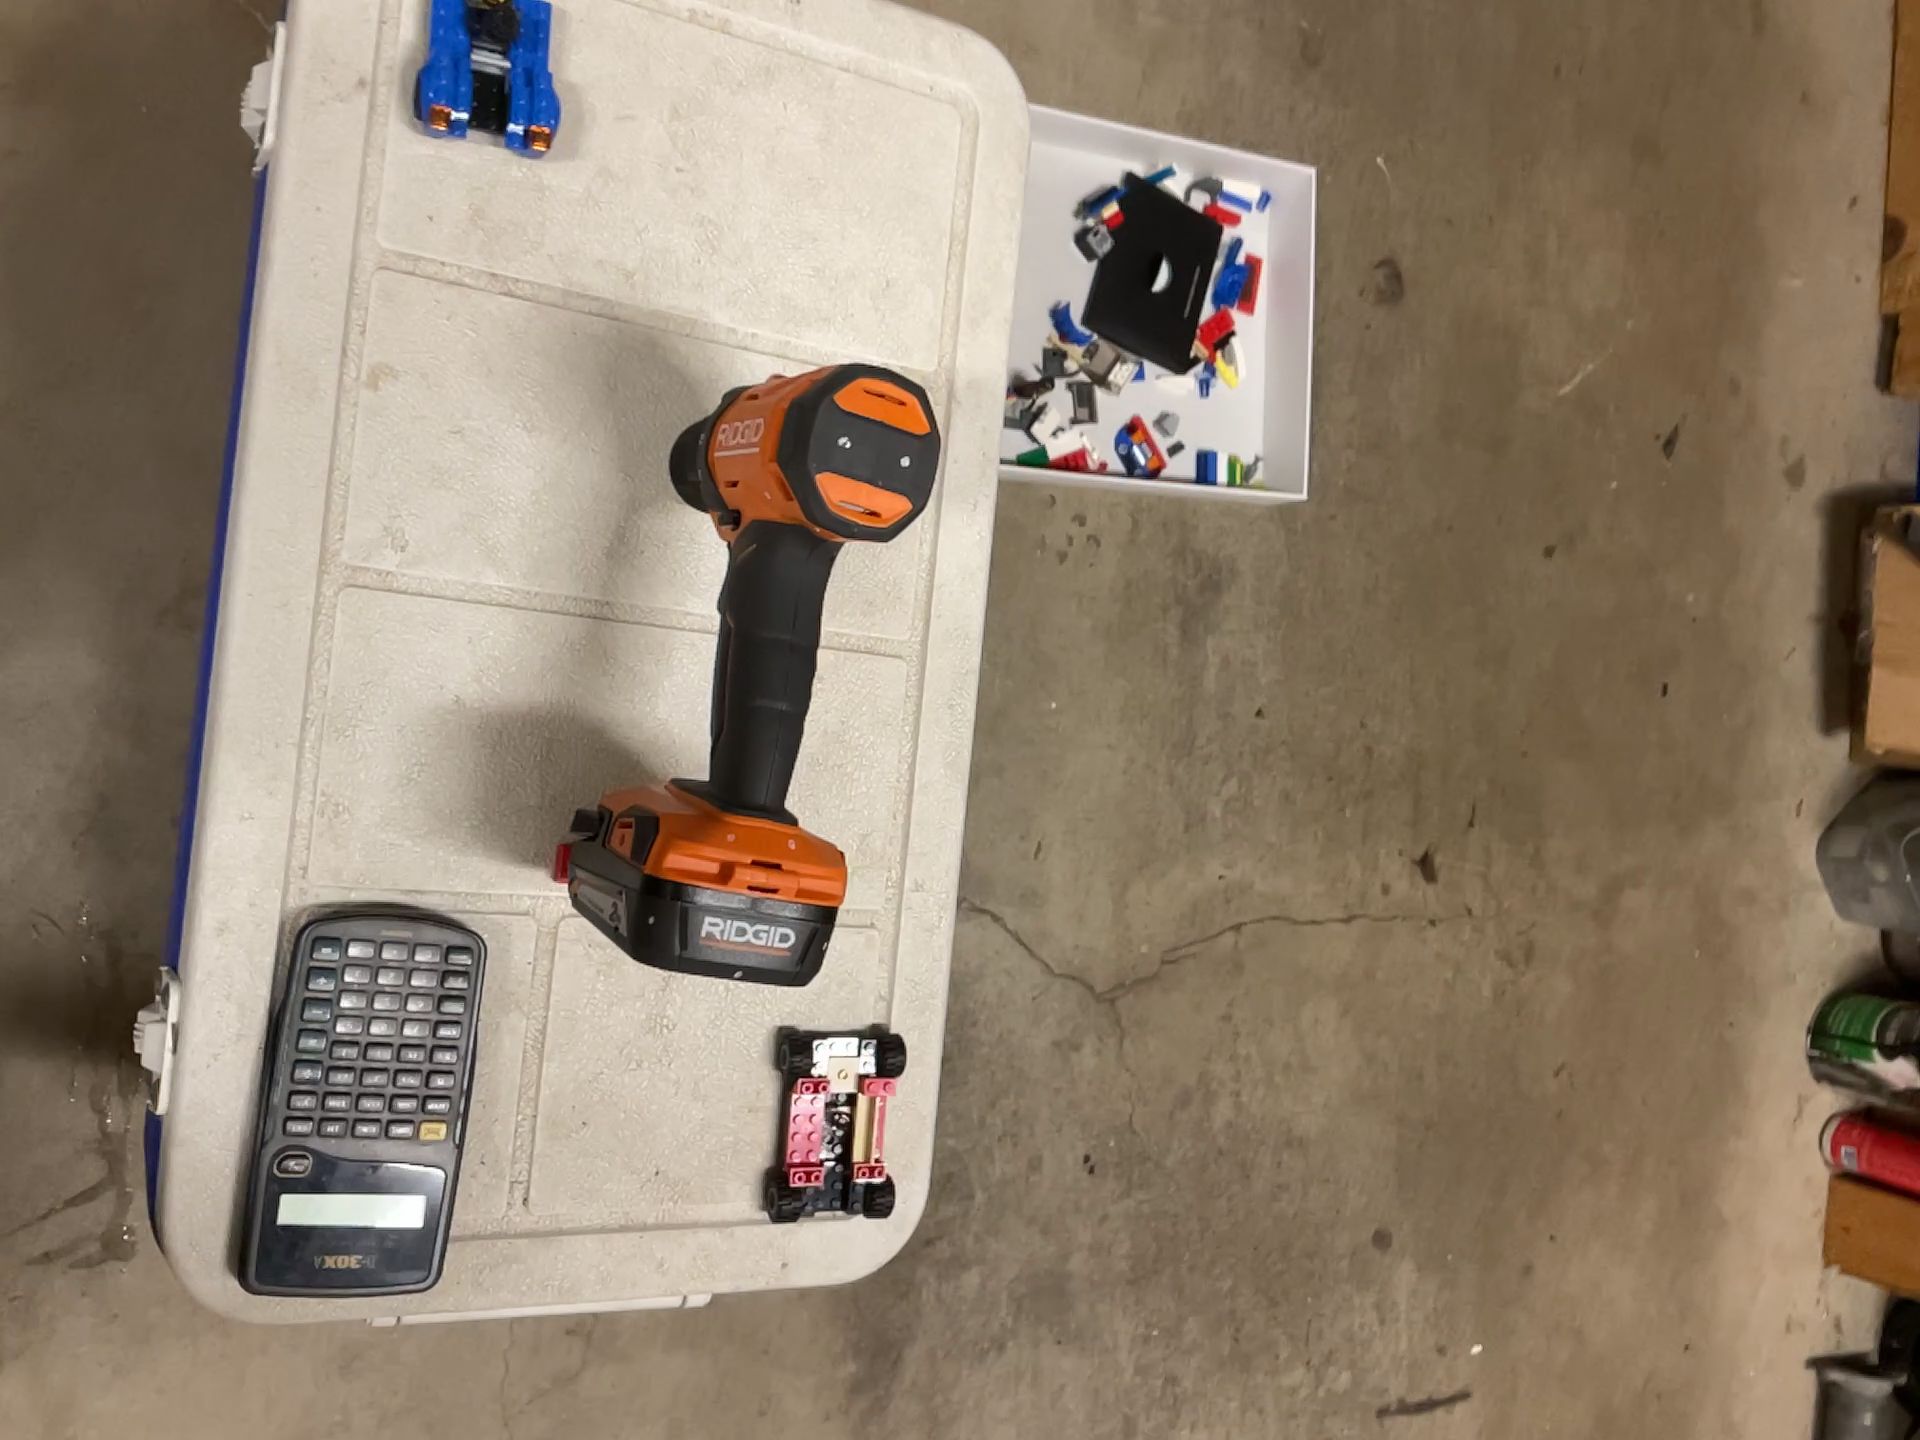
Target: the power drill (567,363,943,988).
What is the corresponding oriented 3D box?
[{"bbox_3d":[-0.091,-0.026,0.635,0.084,0.185,0.226,13,90,-29],"label":"power drill"}]
